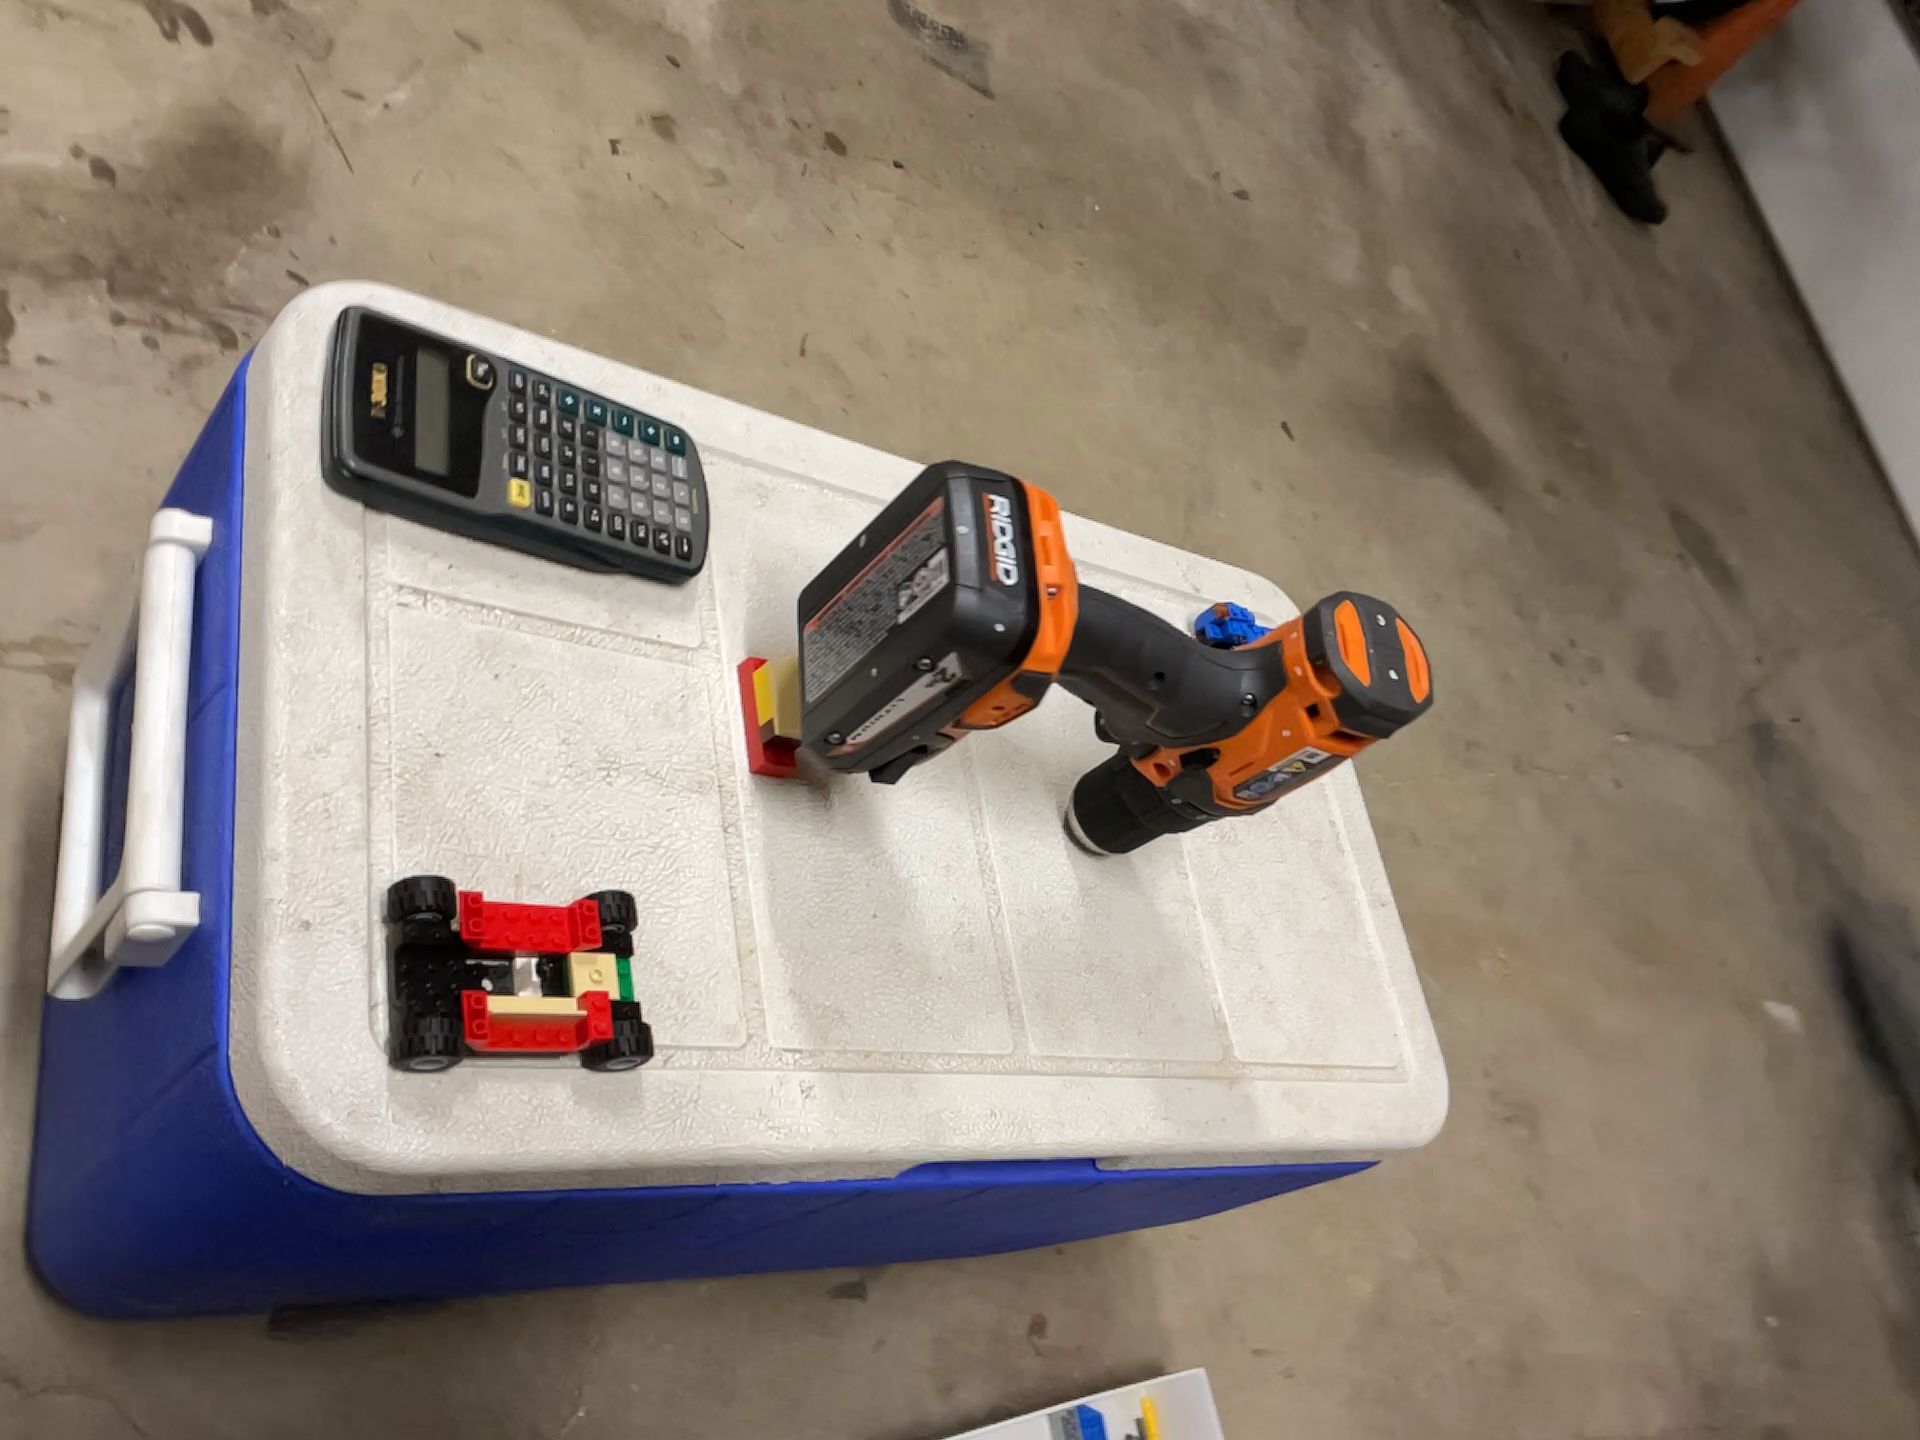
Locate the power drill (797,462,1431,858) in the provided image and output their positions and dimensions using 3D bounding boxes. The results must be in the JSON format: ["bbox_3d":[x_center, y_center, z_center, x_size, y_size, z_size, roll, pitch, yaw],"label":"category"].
[{"bbox_3d":[0.046,-0.006,0.638,0.226,0.185,0.084,14,57,-32],"label":"power drill"}]
